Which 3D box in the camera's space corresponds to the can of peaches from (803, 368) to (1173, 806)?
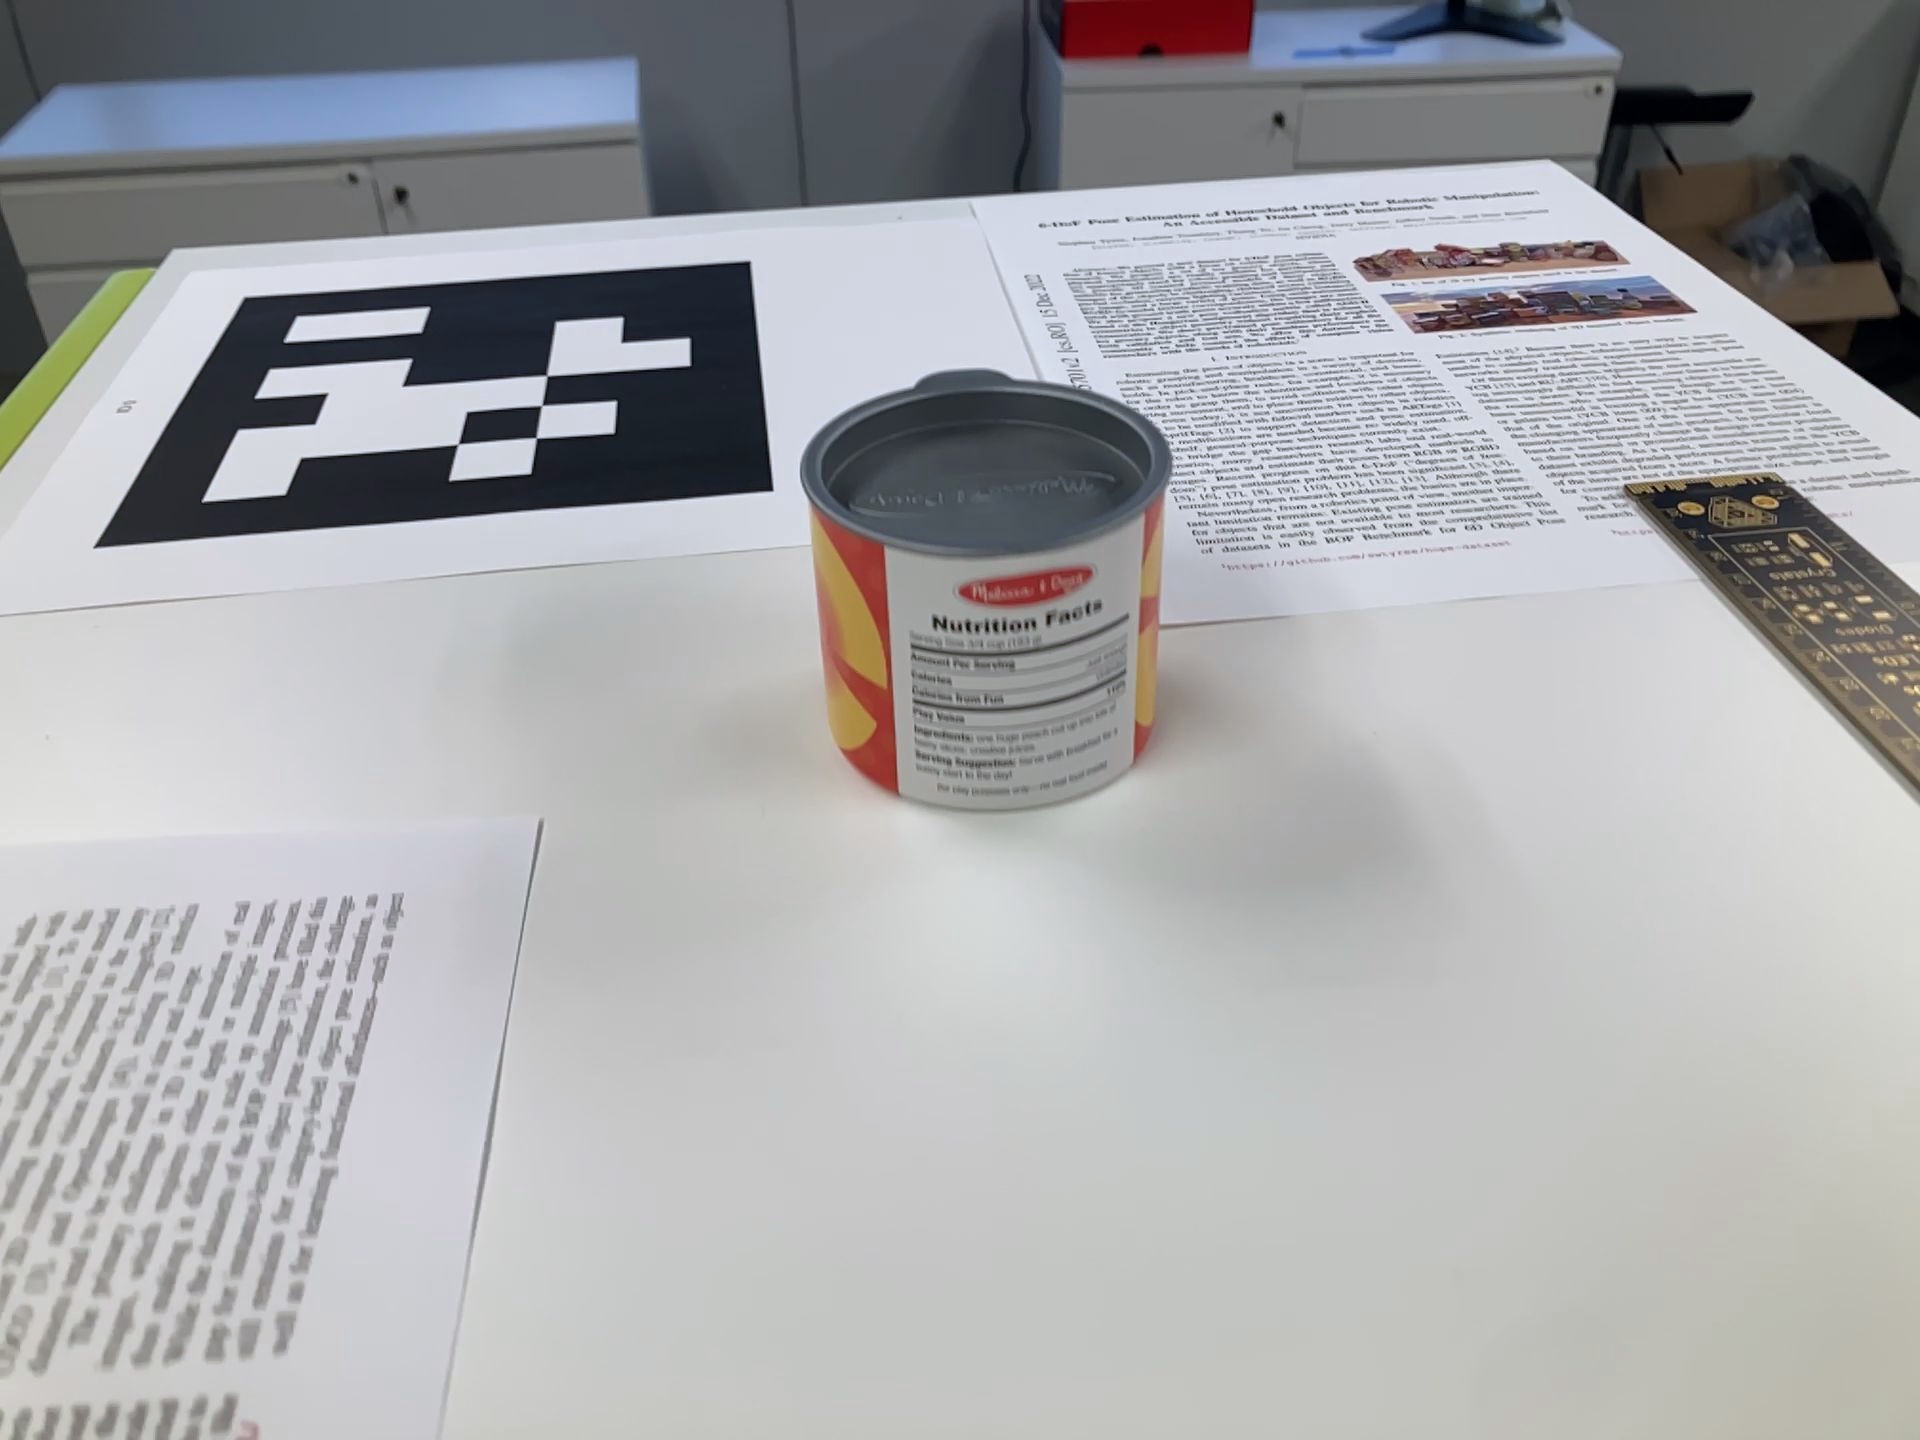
[{"bbox_3d":[0.006,-0.027,0.303,0.071,0.058,0.071,-2,35,1],"label":"can of peaches"}]
